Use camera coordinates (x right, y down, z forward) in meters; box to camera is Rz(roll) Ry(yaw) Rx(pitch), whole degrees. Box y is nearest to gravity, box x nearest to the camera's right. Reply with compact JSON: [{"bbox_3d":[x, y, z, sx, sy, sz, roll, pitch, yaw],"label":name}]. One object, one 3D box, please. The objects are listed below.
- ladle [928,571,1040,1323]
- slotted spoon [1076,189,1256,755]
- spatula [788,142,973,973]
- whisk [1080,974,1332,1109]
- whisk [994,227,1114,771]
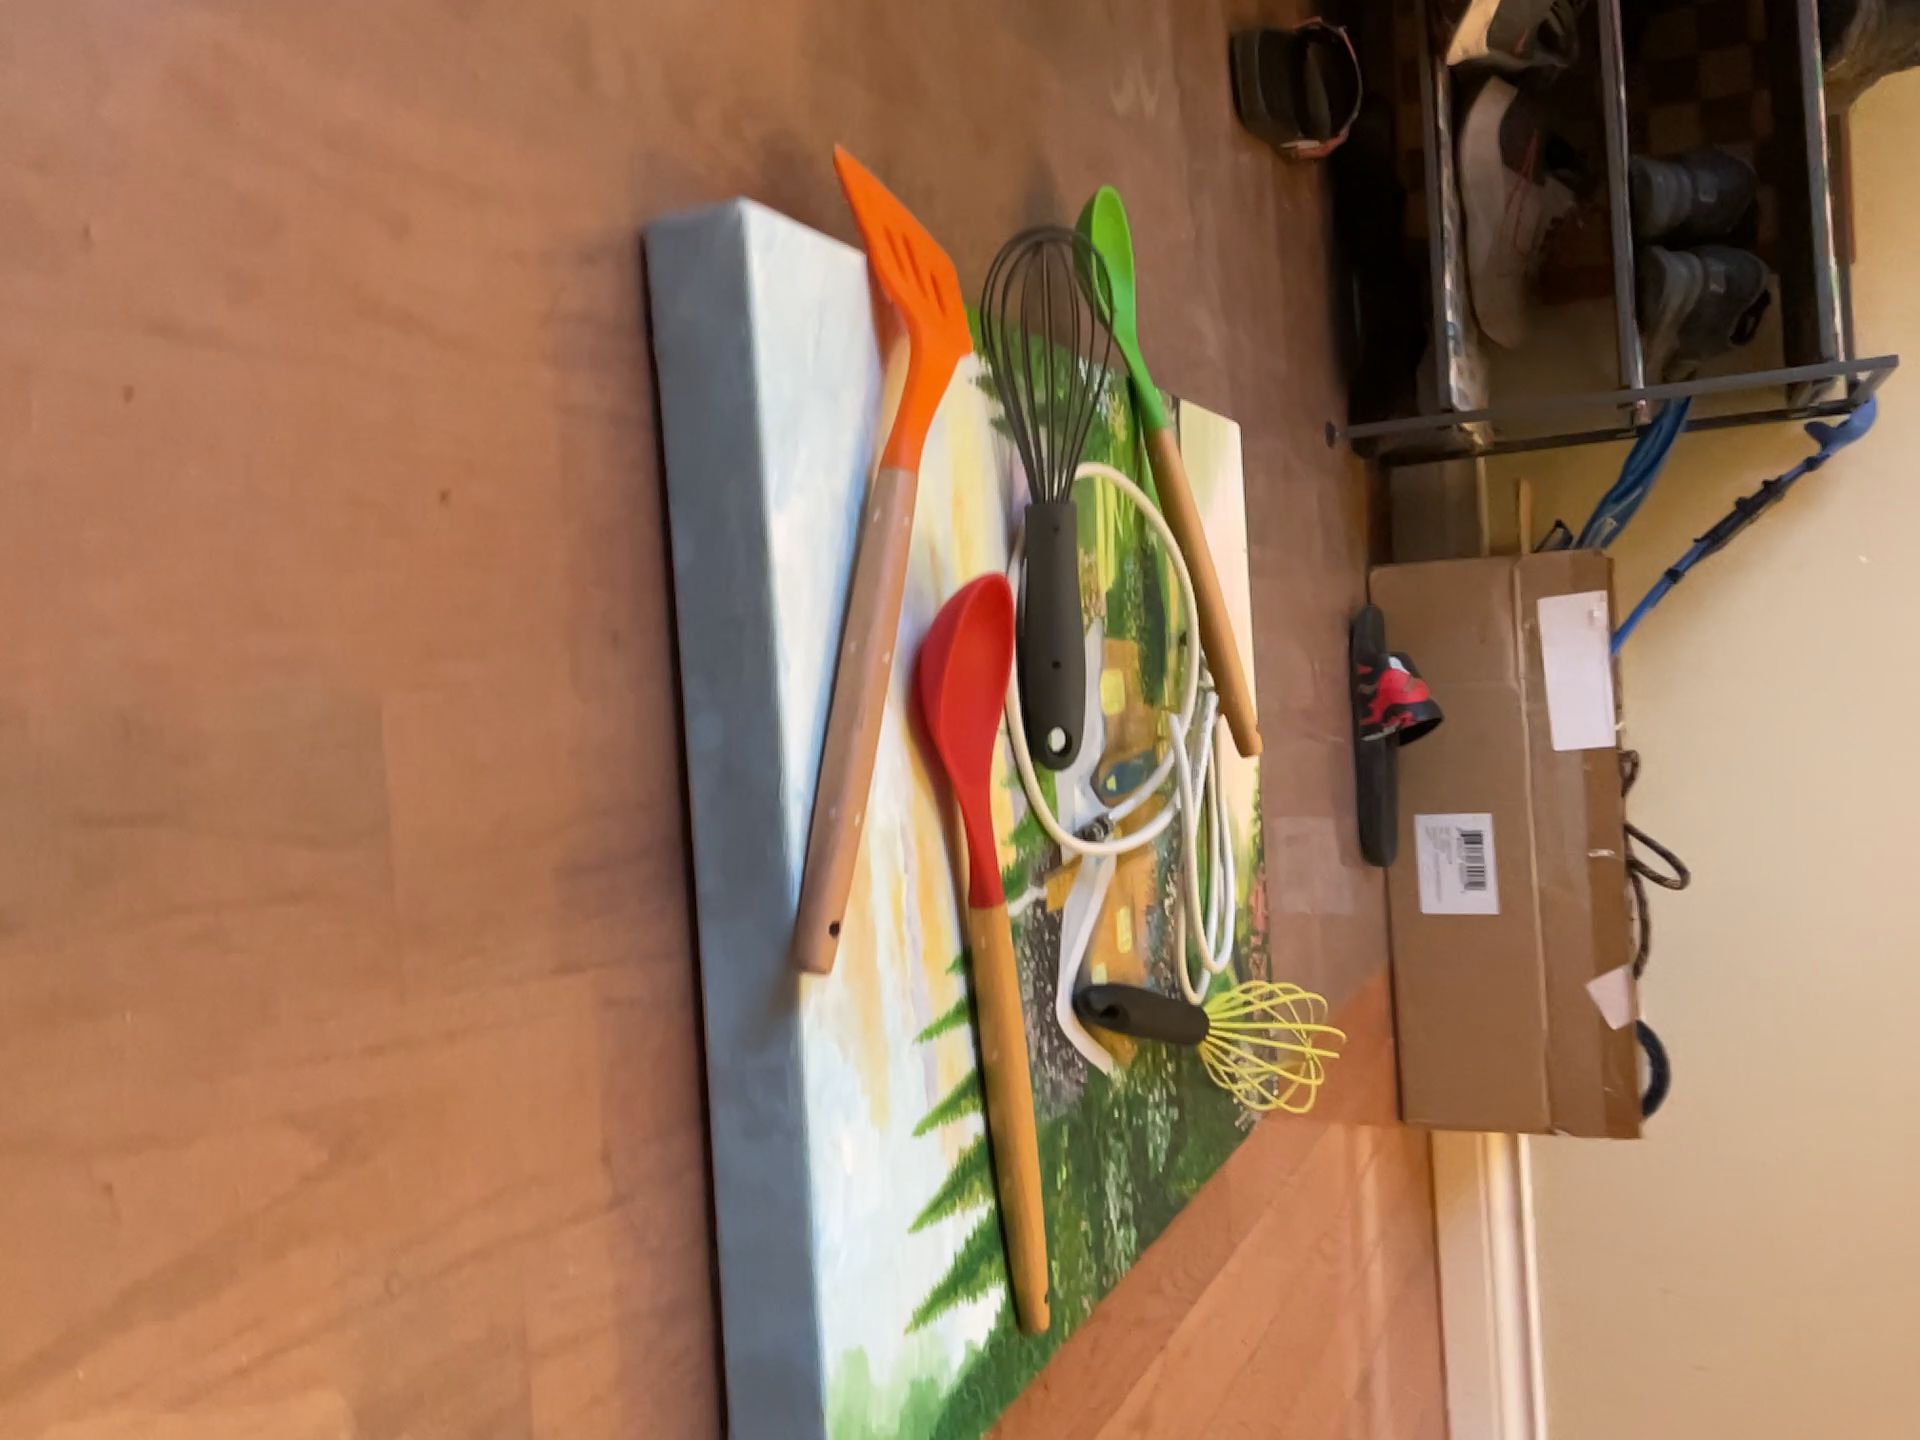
[{"bbox_3d":[0.015,0.098,0.644,0.069,0.031,0.315,-25,112,-63],"label":"ladle"},{"bbox_3d":[0.113,-0.133,0.867,0.070,0.031,0.314,-13,87,-65],"label":"slotted spoon"},{"bbox_3d":[-0.034,-0.067,0.578,0.080,0.041,0.323,33,59,-47],"label":"spatula"},{"bbox_3d":[0.137,0.170,0.875,0.311,0.067,0.080,26,59,-56],"label":"whisk"},{"bbox_3d":[0.042,-0.094,0.702,0.055,0.055,0.239,-18,110,-54],"label":"whisk"}]
